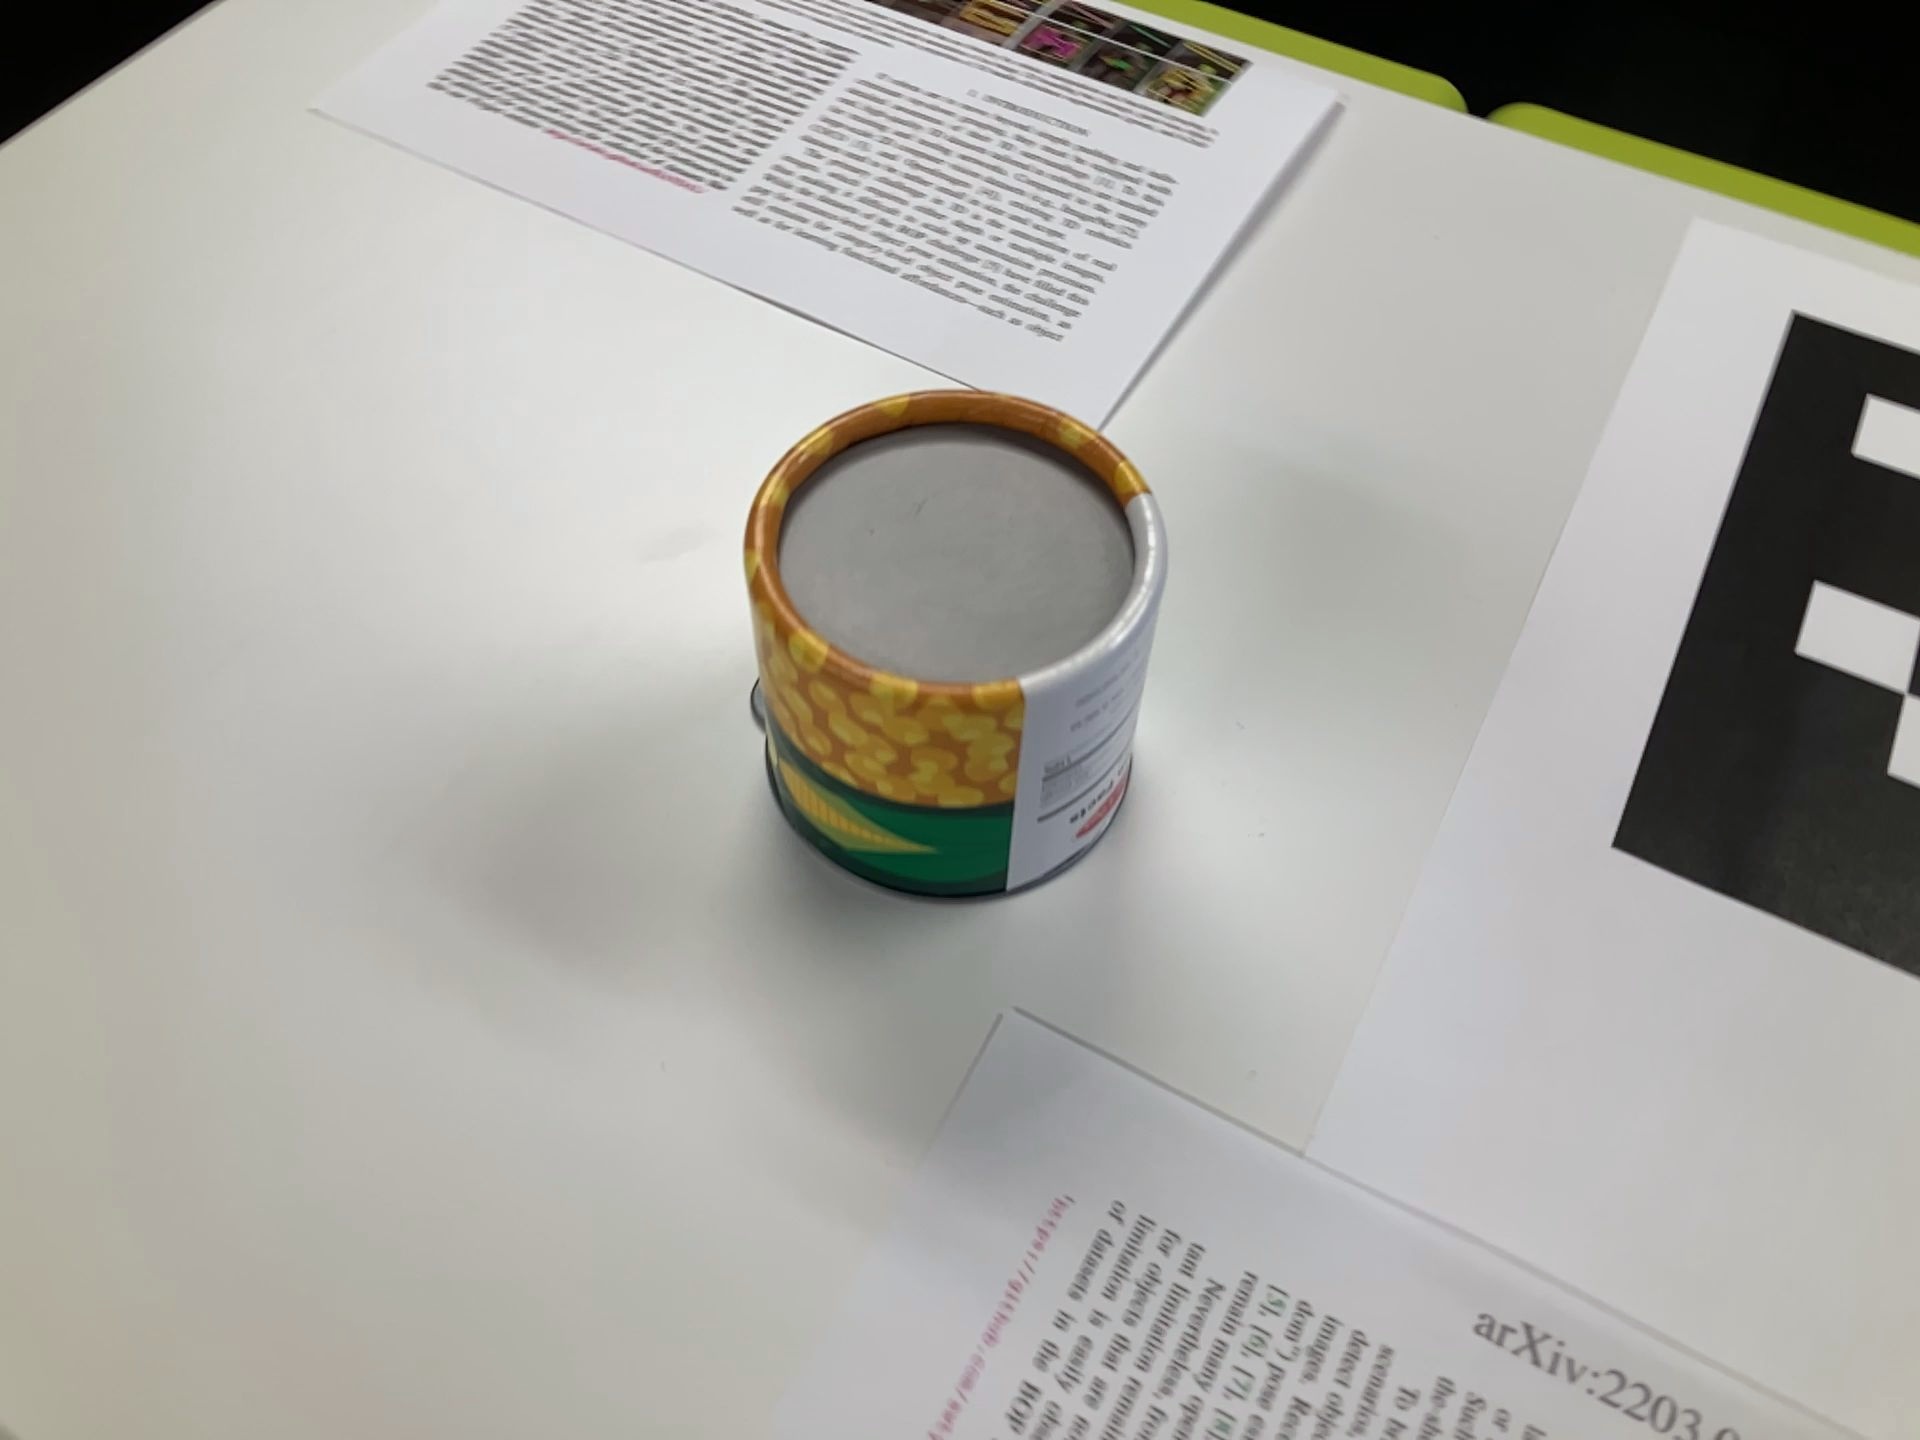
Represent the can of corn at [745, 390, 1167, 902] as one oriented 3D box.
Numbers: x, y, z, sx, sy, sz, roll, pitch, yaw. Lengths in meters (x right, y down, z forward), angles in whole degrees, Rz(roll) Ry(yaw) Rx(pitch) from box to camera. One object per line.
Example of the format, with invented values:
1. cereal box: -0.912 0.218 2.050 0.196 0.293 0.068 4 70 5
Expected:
1. can of corn: -0.003 -0.013 0.267 0.071 0.058 0.071 1 55 -1
